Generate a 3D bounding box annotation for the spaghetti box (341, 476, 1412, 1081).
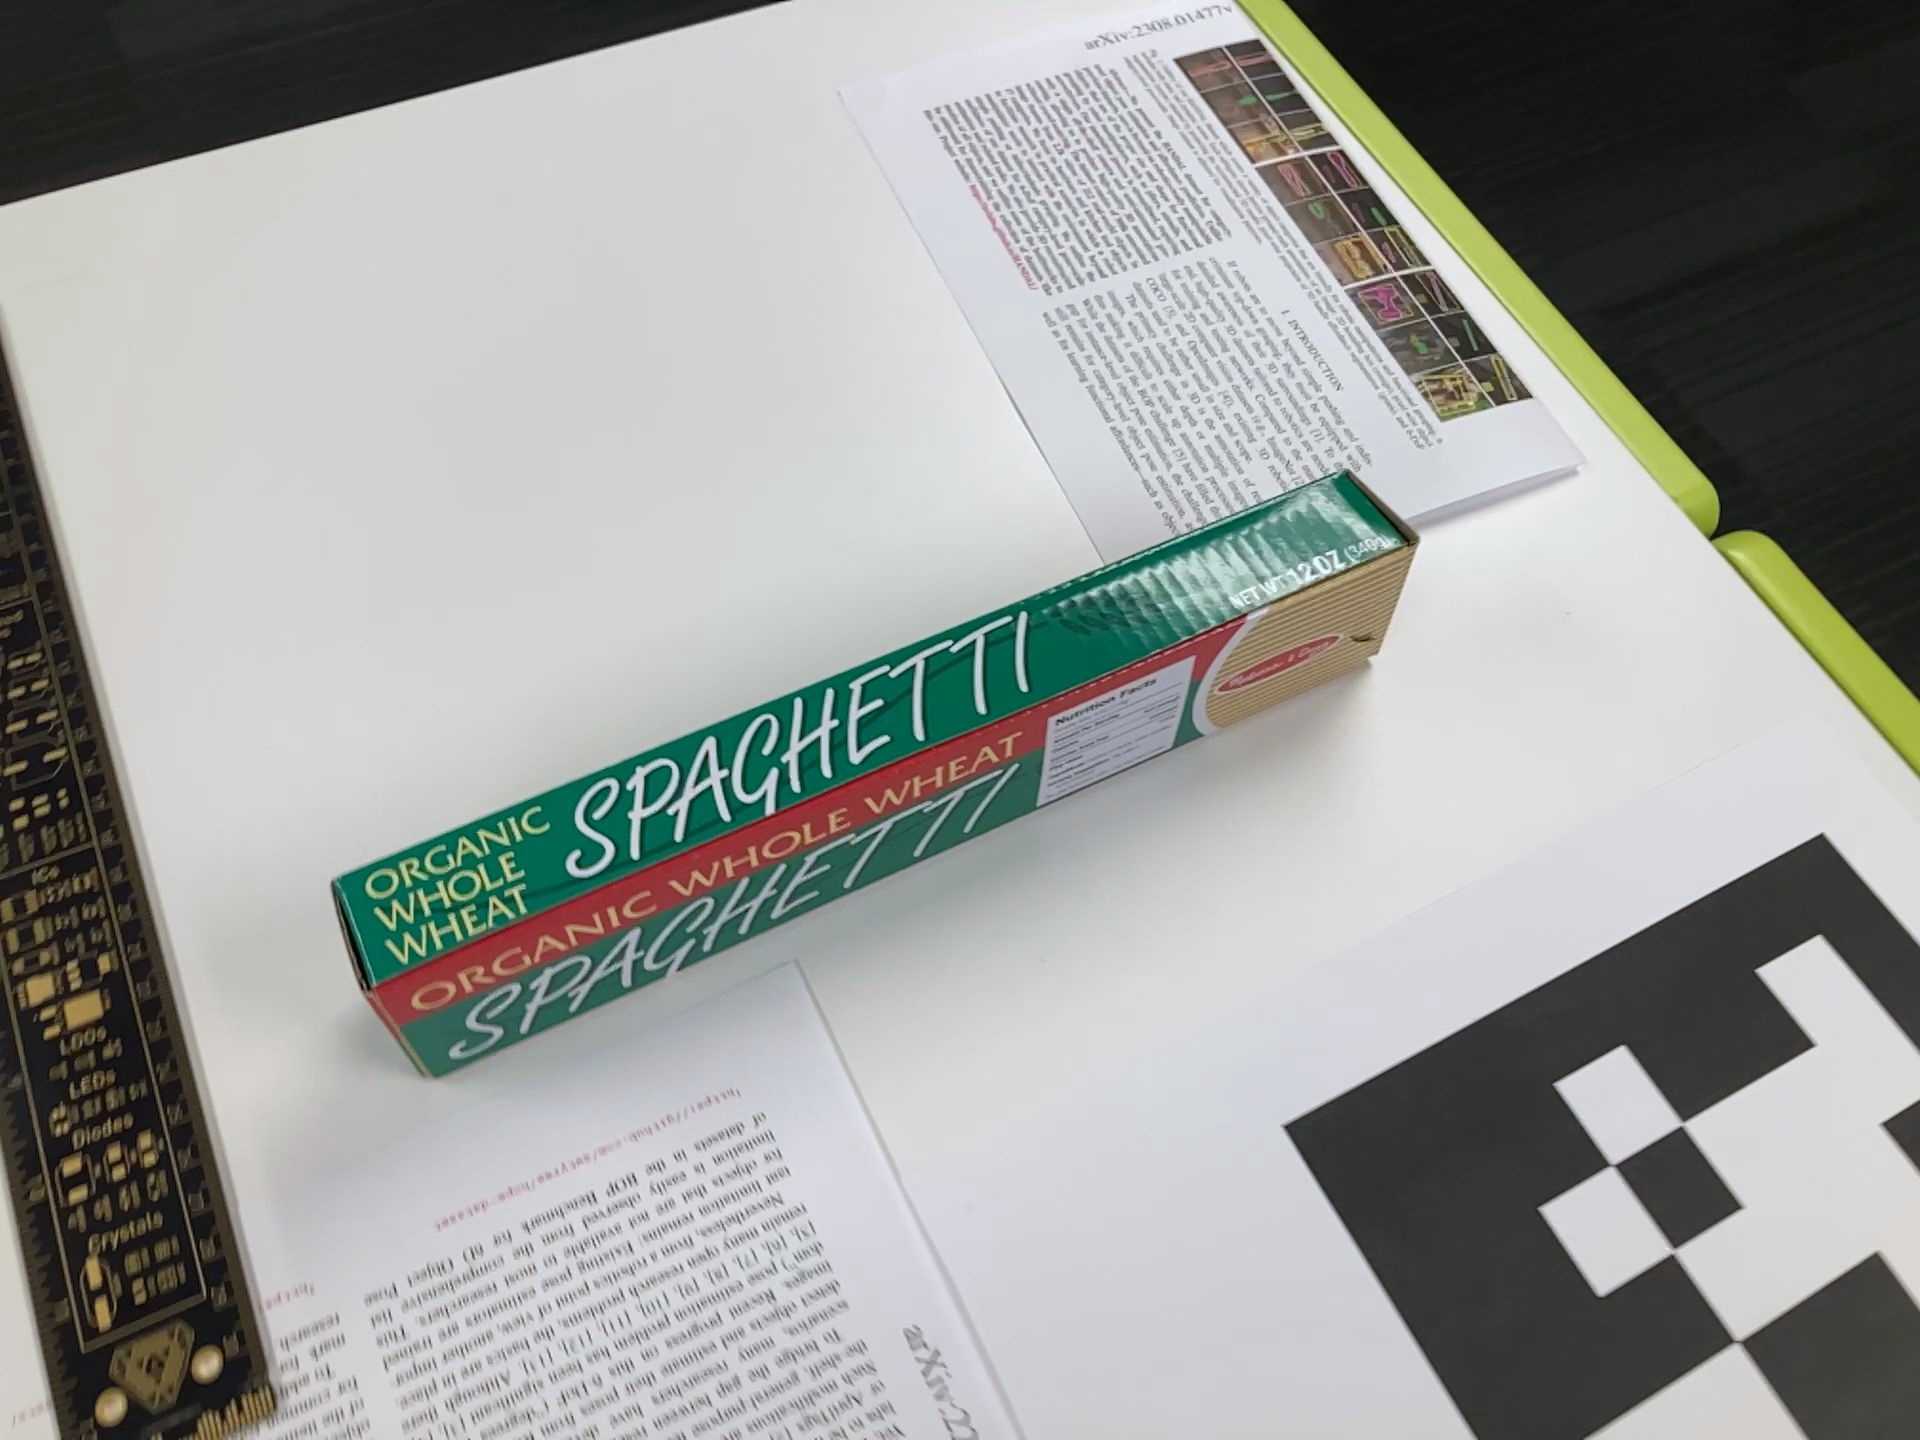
[{"bbox_3d":[-0.011,0.010,0.362,0.250,0.050,0.028,-23,60,-16],"label":"spaghetti box"}]
